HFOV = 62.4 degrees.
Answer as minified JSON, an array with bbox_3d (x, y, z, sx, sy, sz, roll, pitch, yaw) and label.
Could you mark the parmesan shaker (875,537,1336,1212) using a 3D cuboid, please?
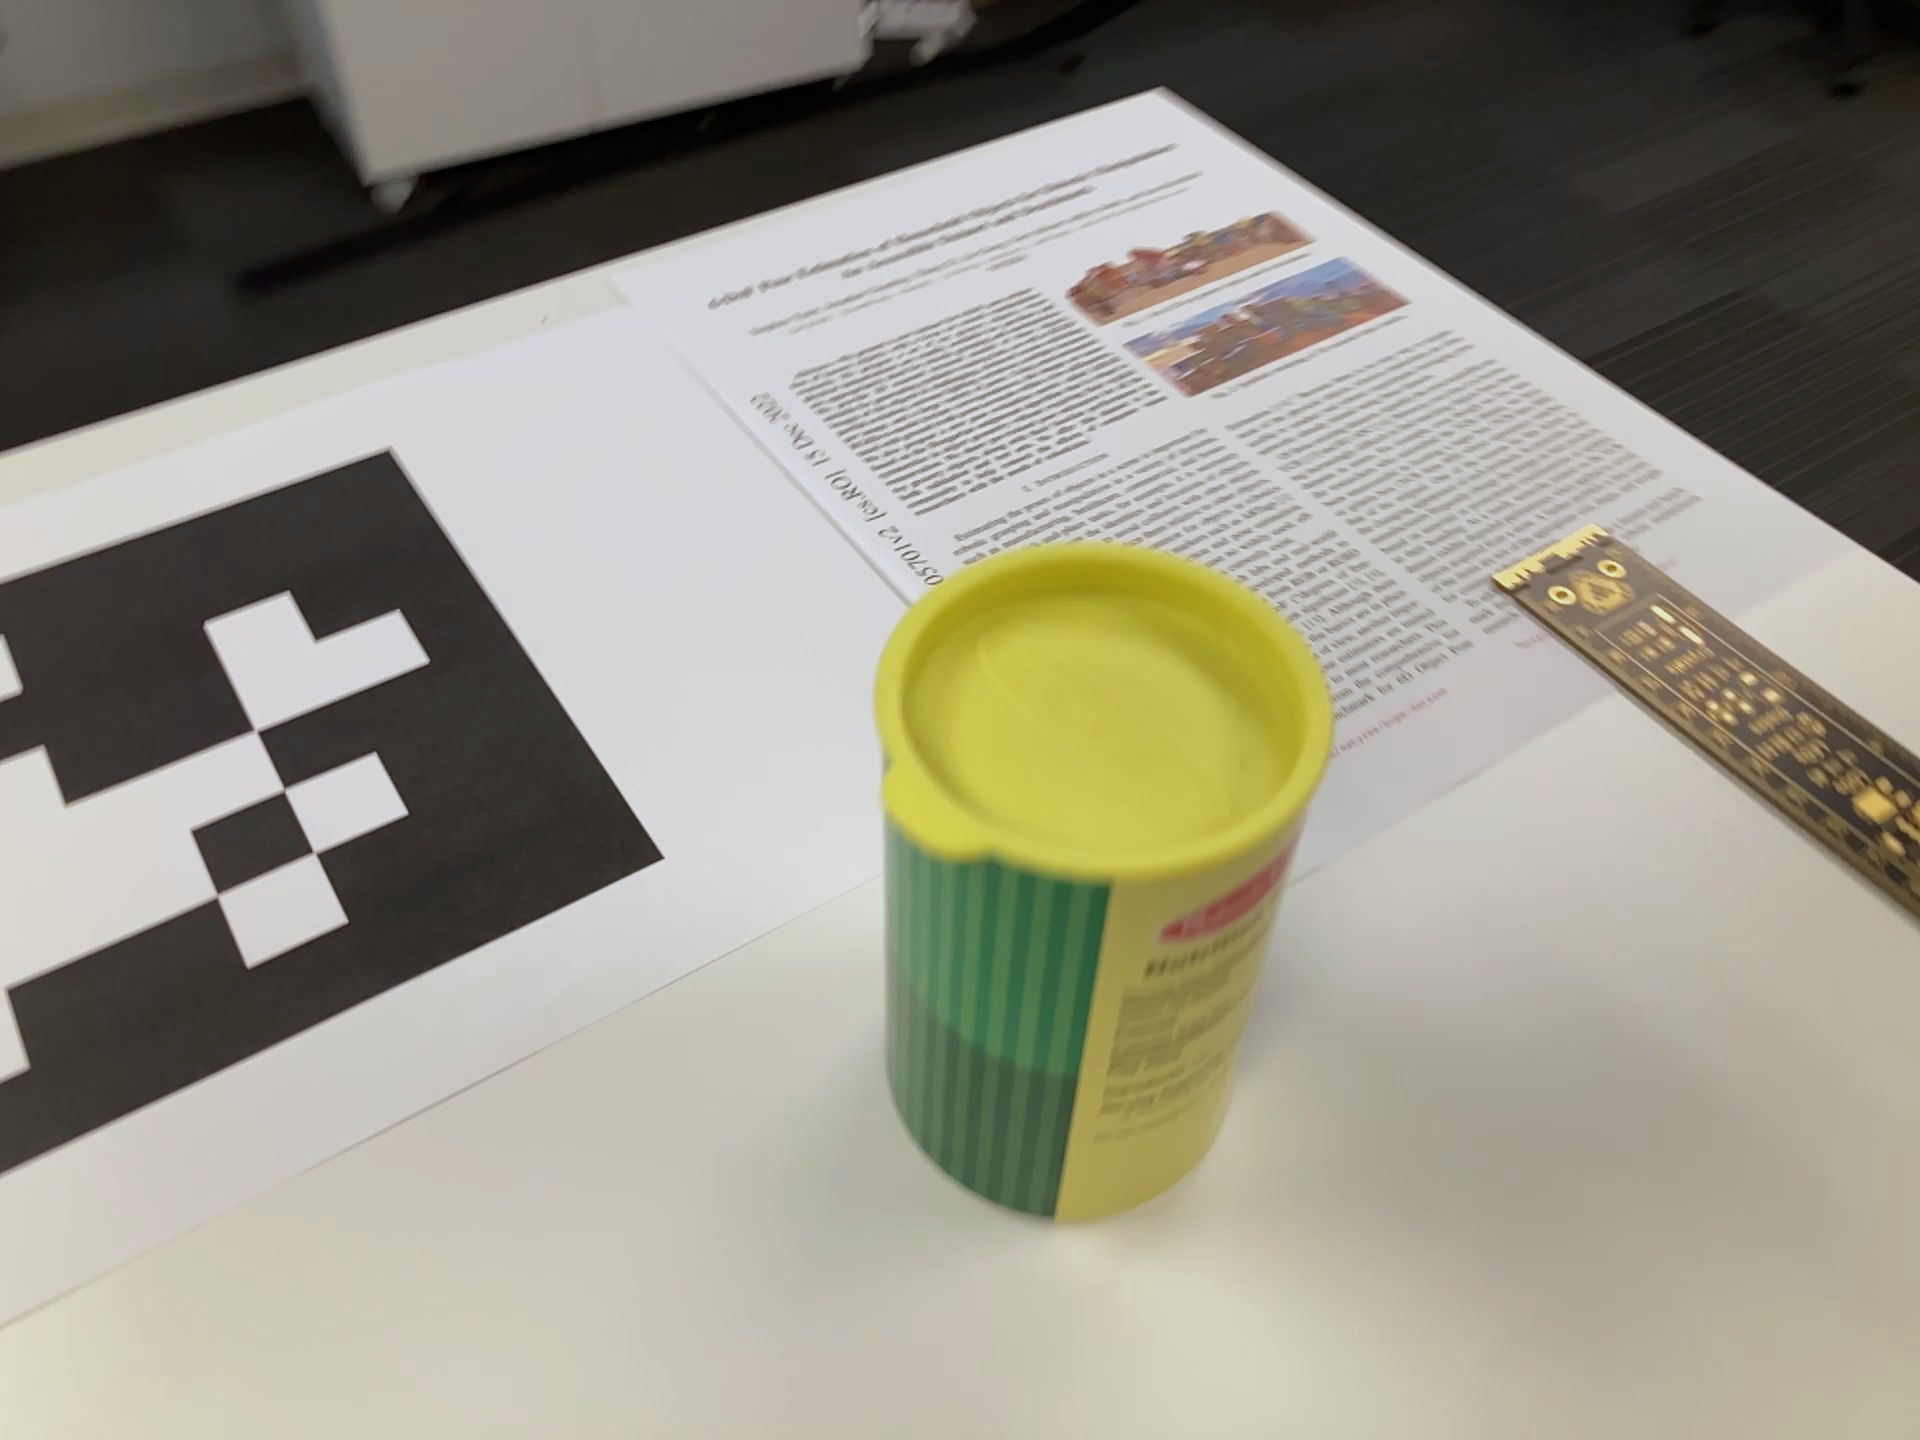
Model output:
[{"bbox_3d":[0.017,0.031,0.265,0.071,0.103,0.071,1,47,-1],"label":"parmesan shaker"}]
